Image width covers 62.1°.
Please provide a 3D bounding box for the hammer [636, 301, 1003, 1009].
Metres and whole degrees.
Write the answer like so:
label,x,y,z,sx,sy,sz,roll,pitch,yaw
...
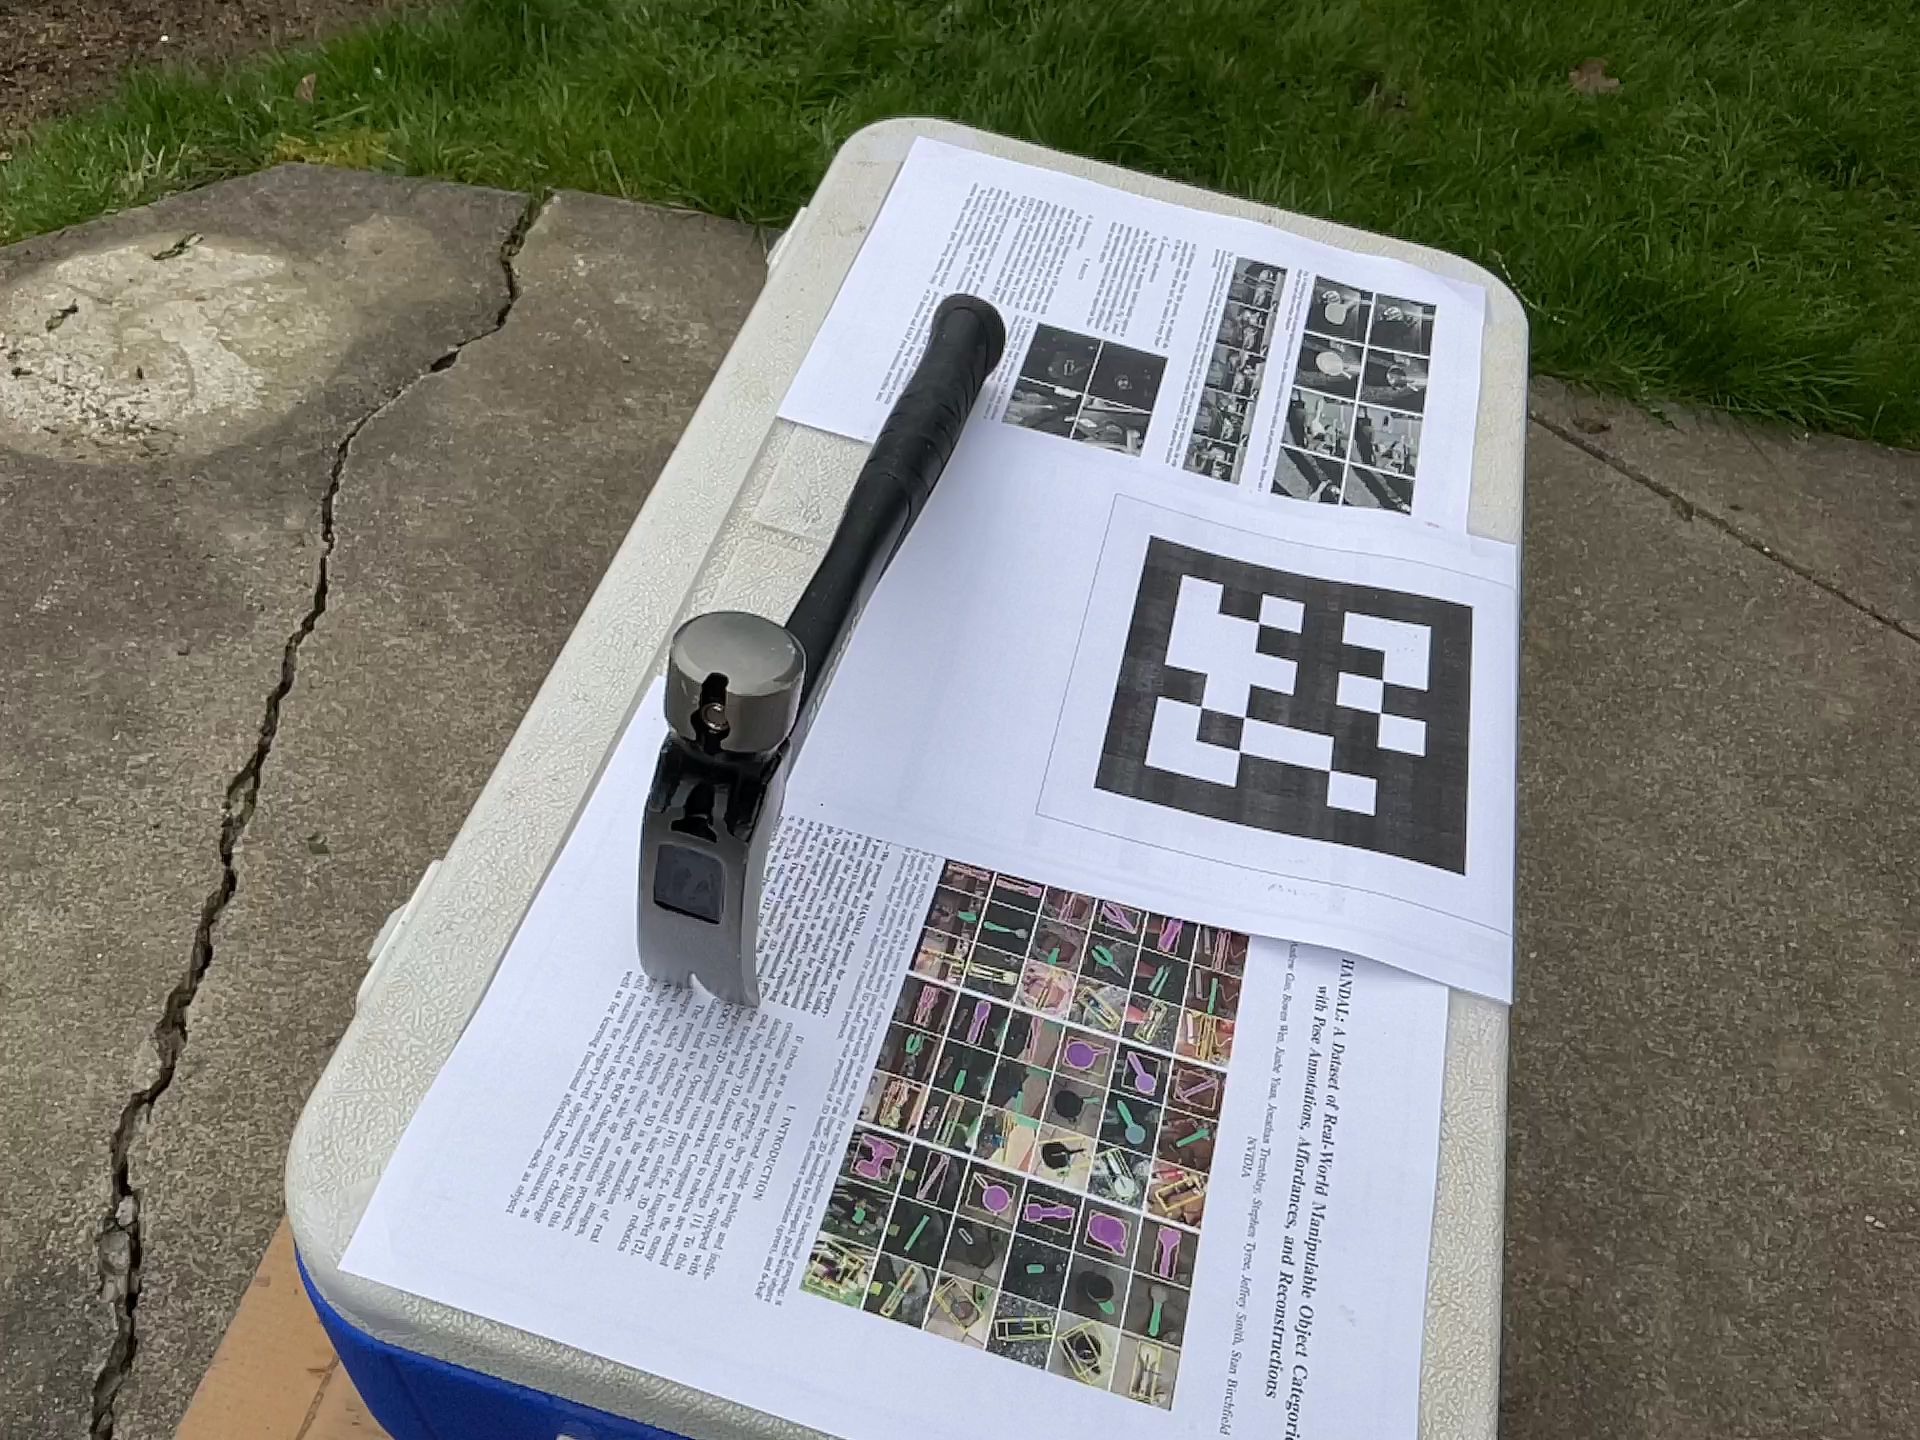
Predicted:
label,x,y,z,sx,sy,sz,roll,pitch,yaw
hammer,-0.035,-0.053,0.539,0.035,0.146,0.335,17,40,2
